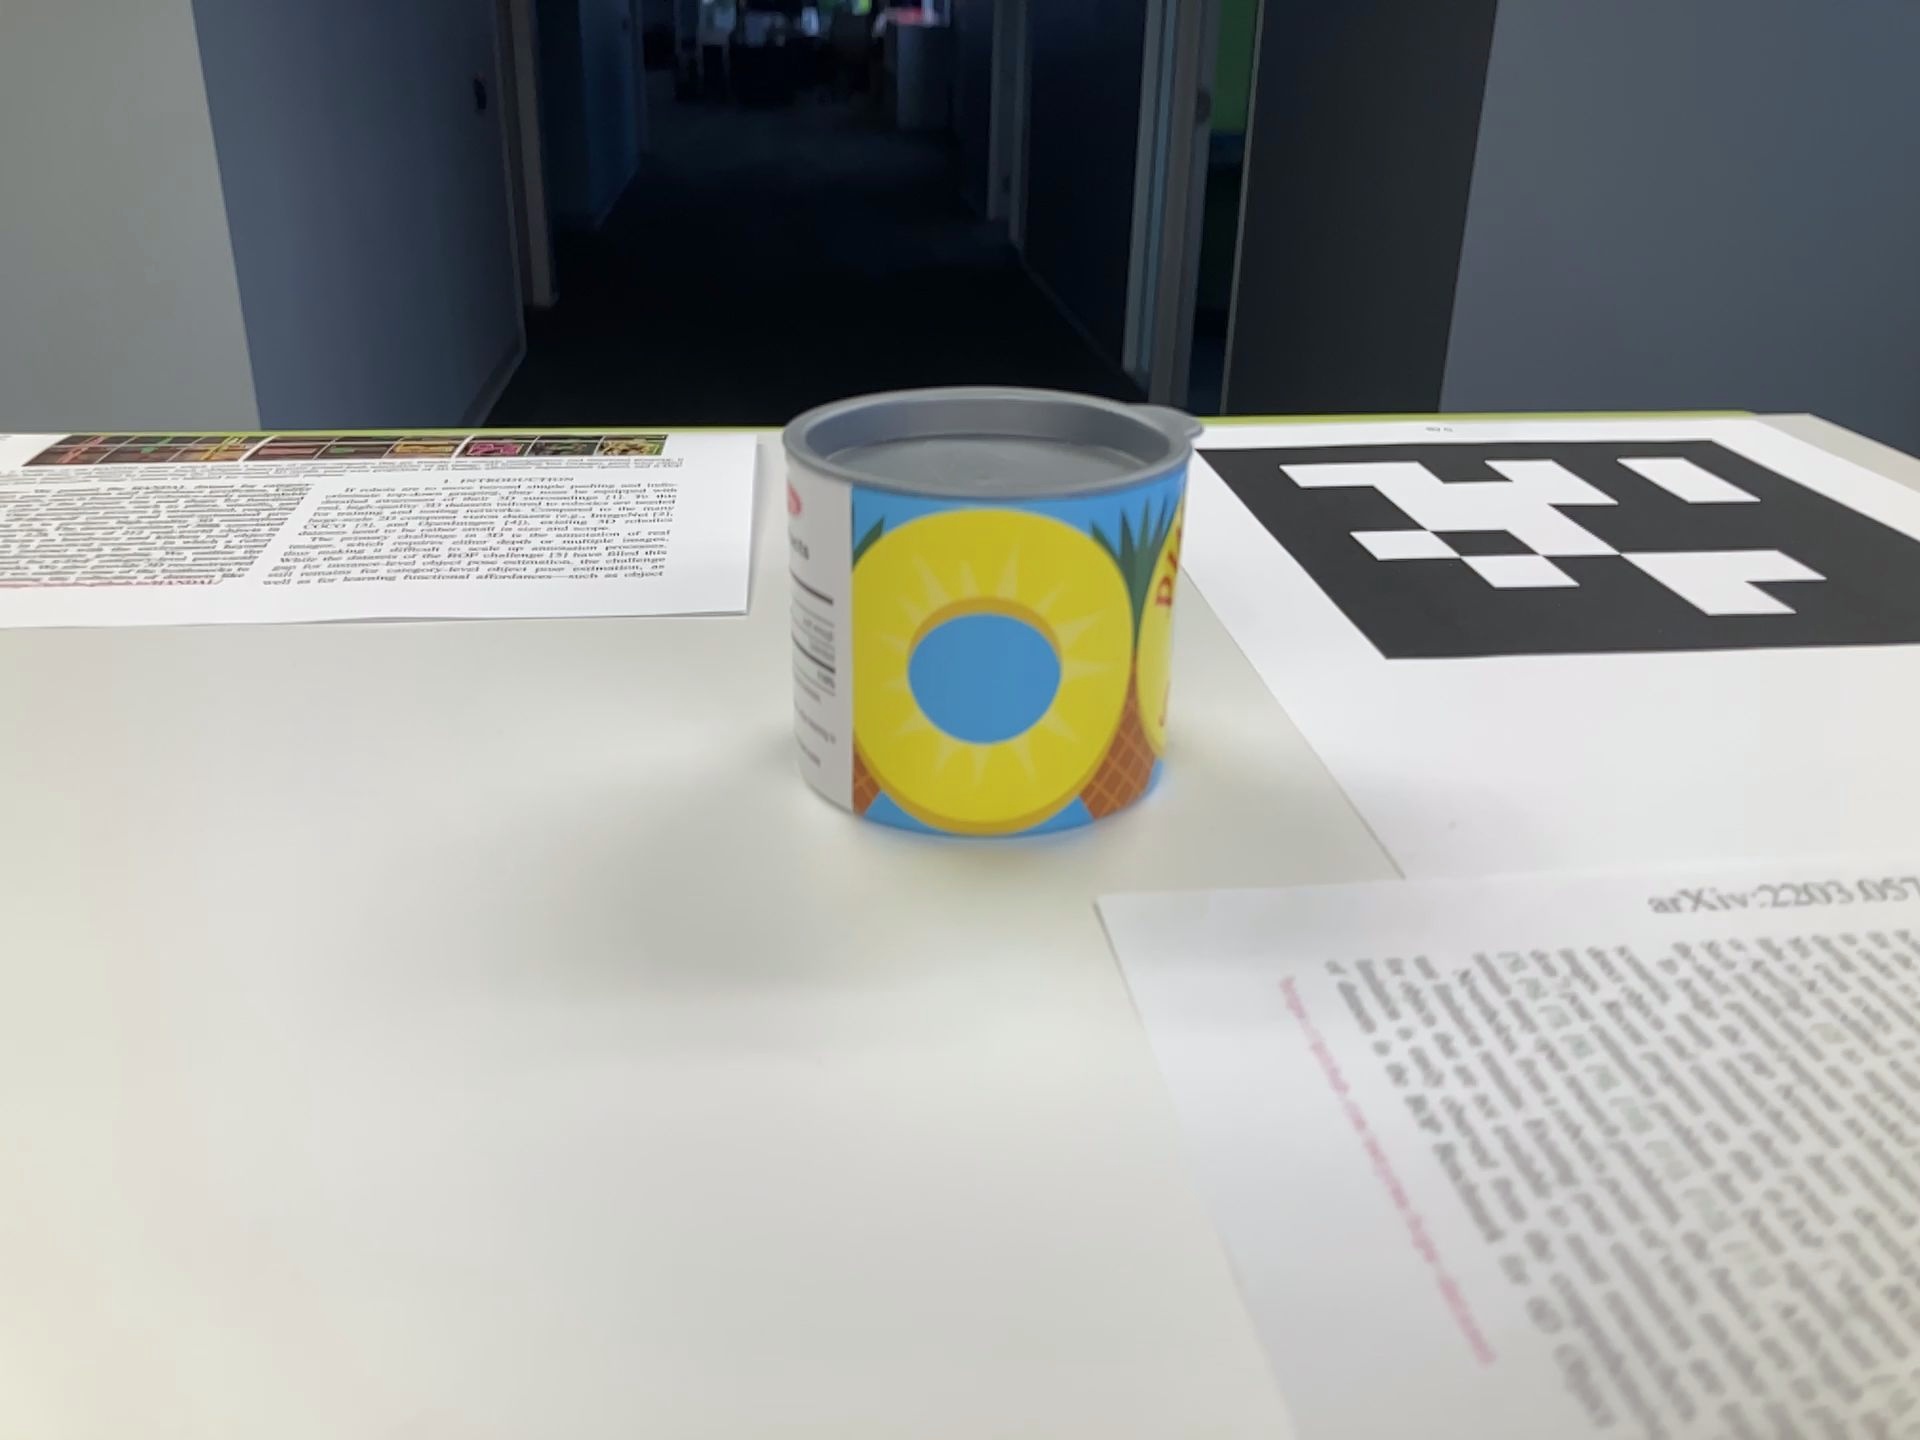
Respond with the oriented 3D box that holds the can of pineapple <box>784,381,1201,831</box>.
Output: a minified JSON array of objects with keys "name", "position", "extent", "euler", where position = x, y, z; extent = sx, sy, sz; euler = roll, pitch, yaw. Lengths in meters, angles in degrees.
[{"name":"can of pineapple","position":[0.006,-0.021,0.270],"extent":[0.071,0.058,0.071],"euler":[1,25,-1]}]
